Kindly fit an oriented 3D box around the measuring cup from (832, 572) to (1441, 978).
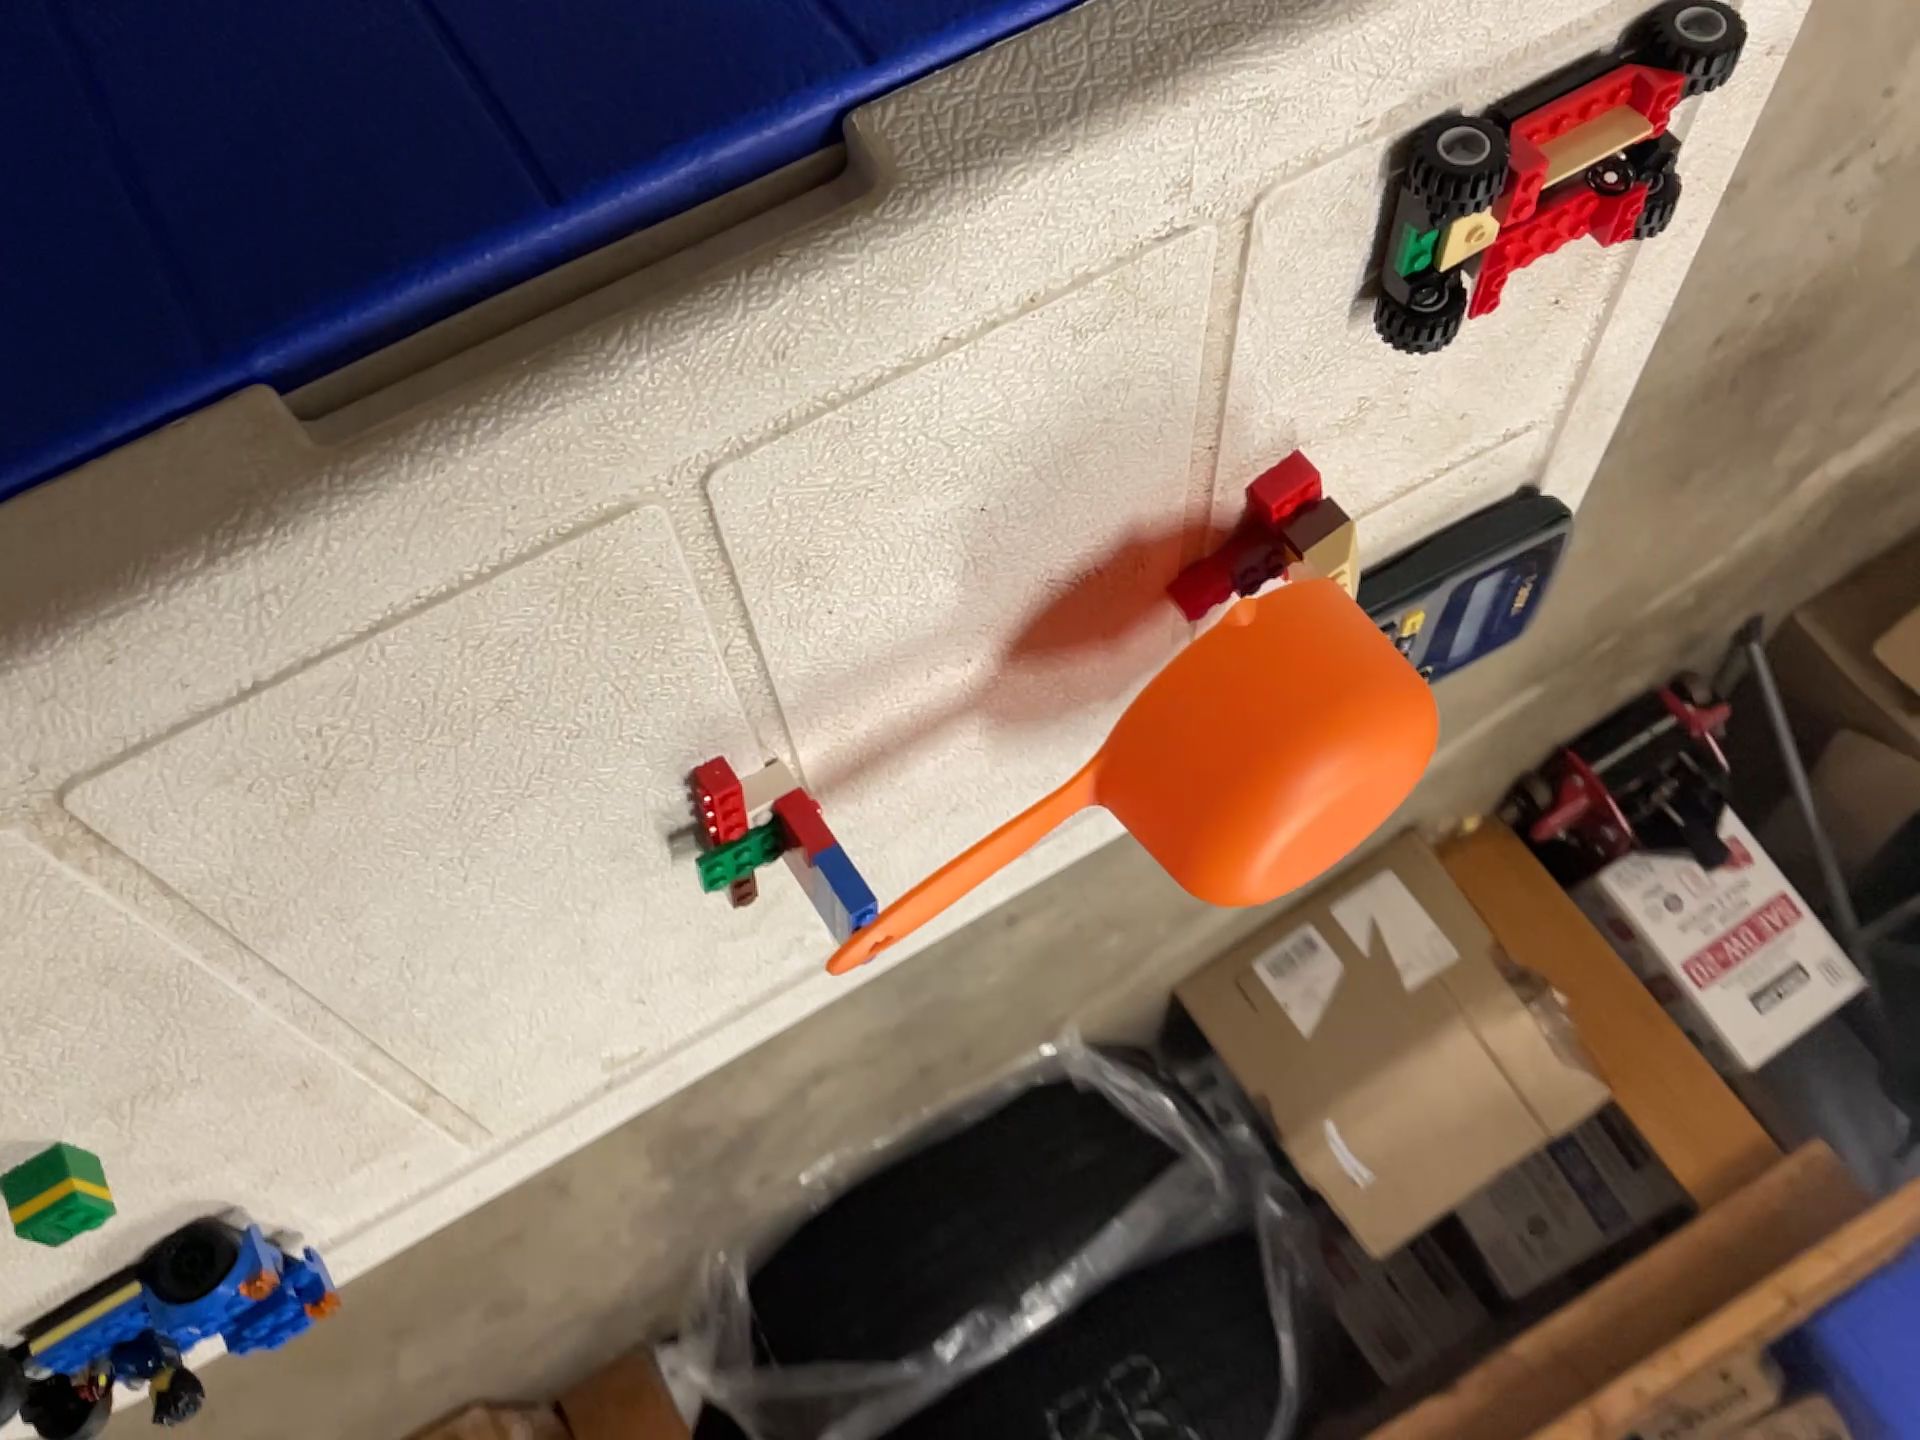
[{"bbox_3d":[0.051,0.032,0.415,0.173,0.052,0.095,-34,154,-15],"label":"measuring cup"}]
